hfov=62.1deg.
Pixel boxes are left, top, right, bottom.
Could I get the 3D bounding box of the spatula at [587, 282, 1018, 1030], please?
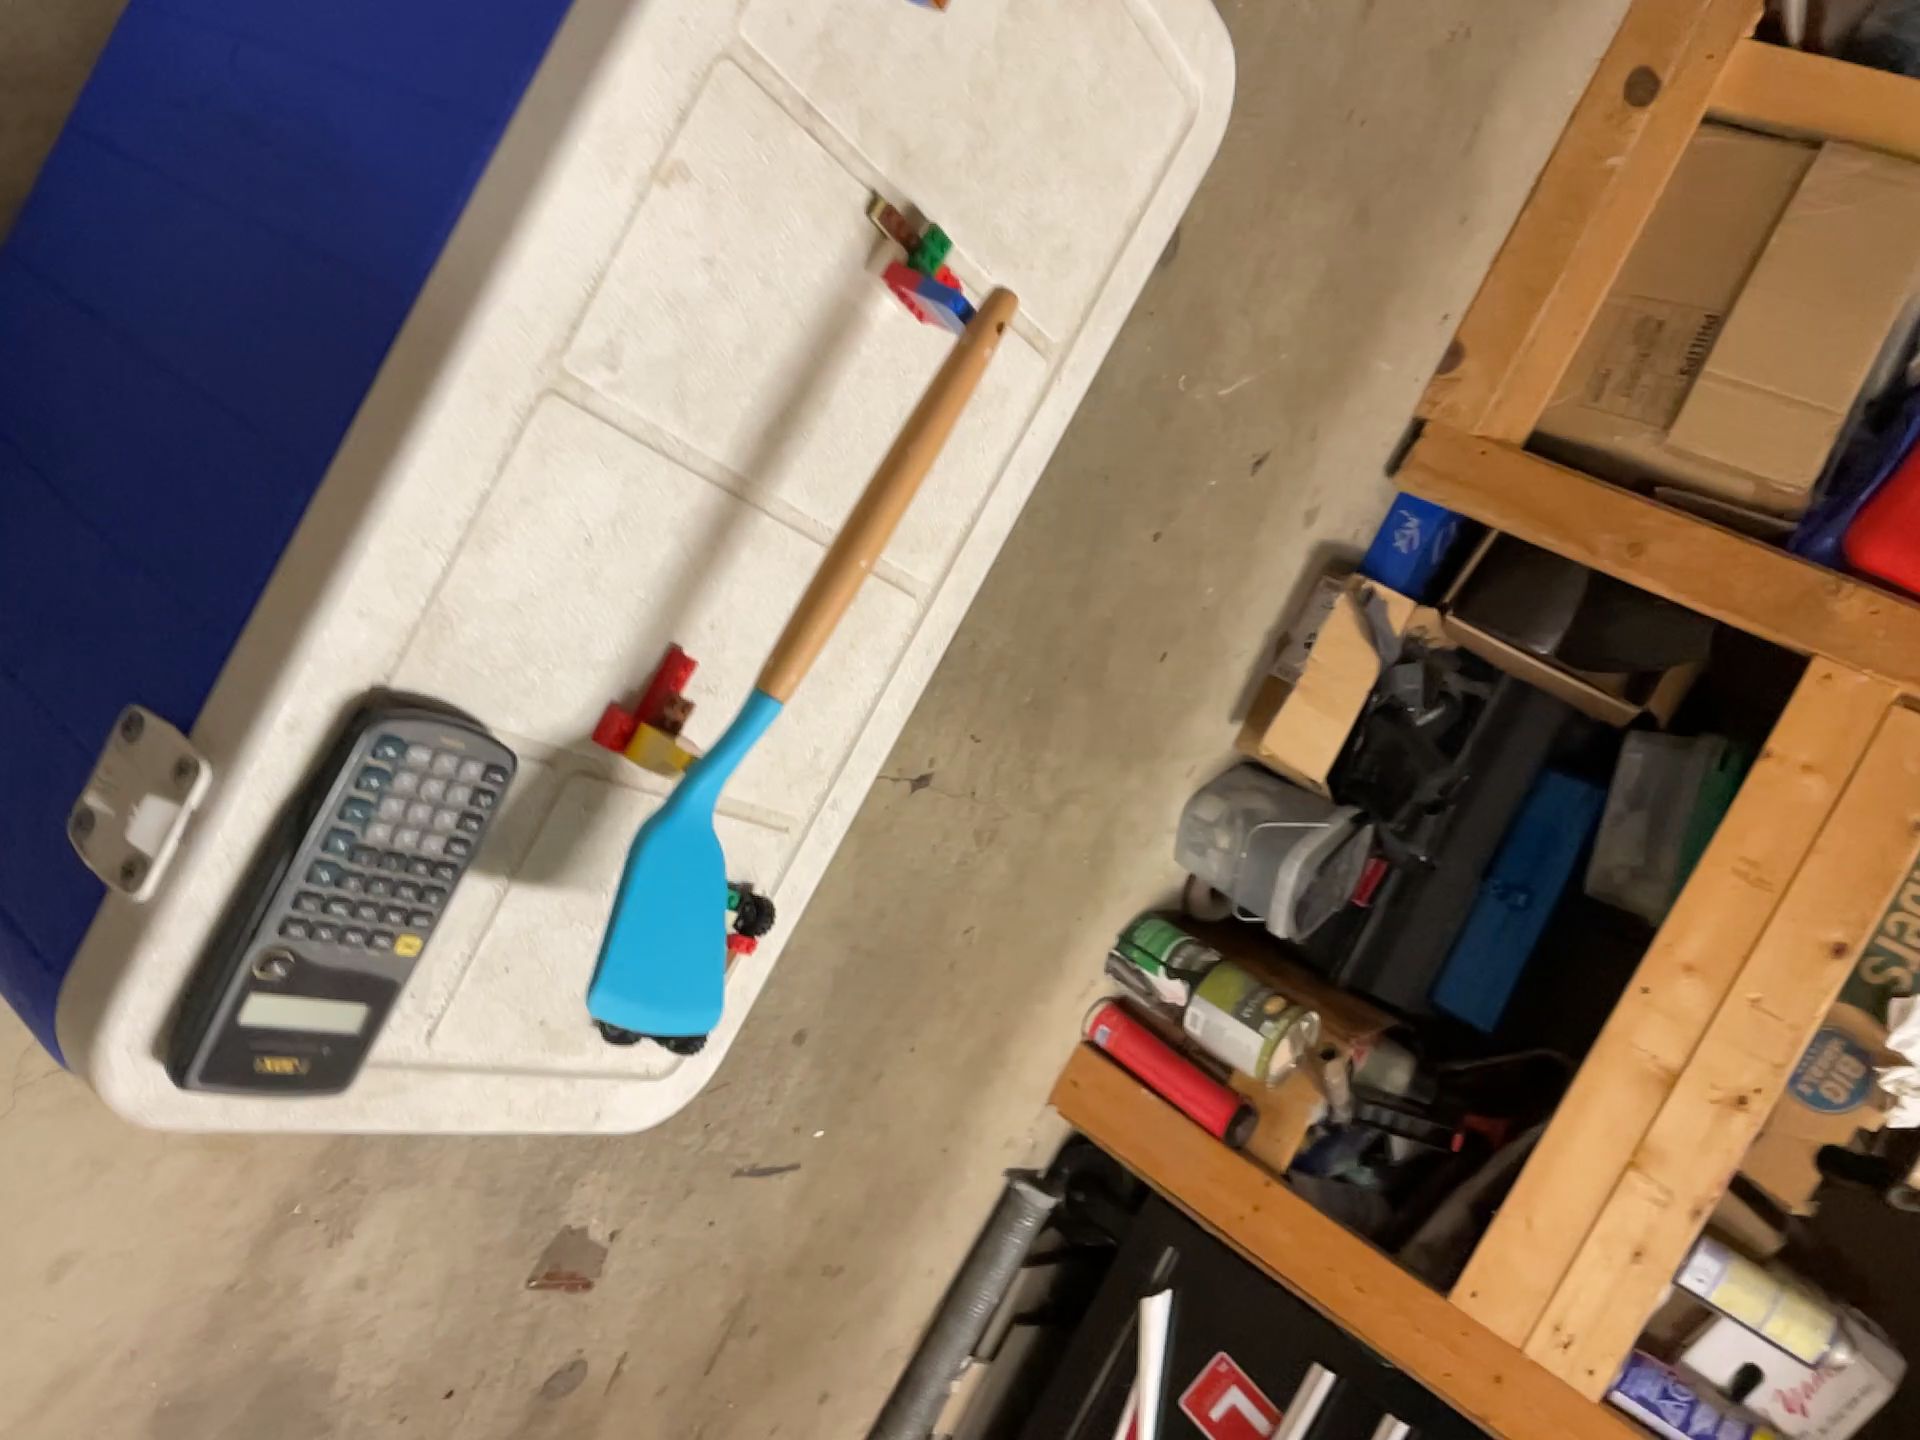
[{"bbox_3d":[-0.054,-0.029,0.625,0.317,0.044,0.082,-60,145,0],"label":"spatula"}]
